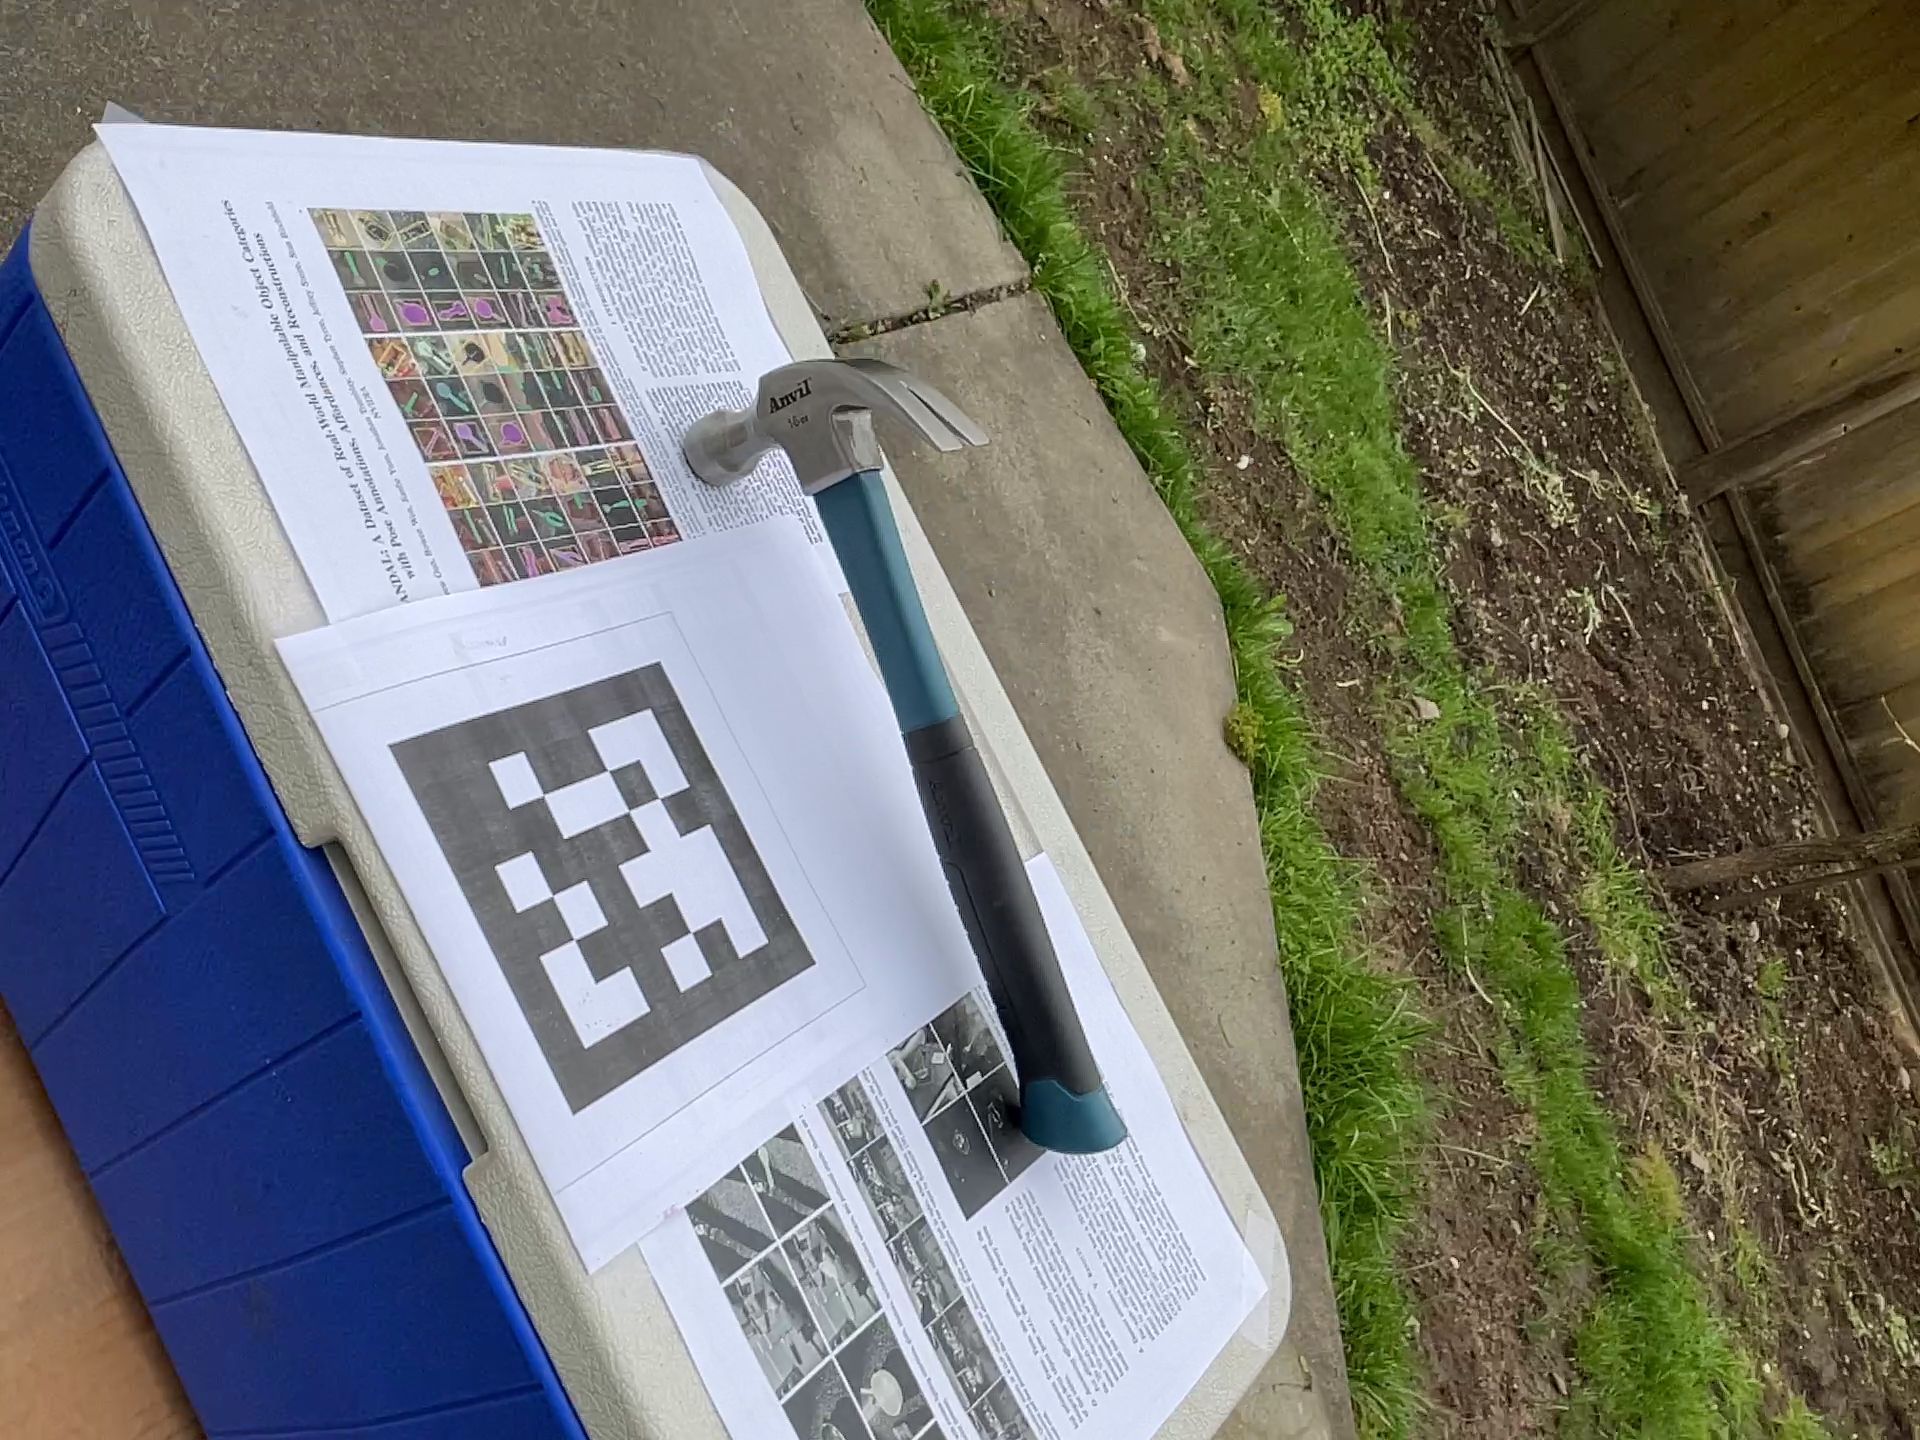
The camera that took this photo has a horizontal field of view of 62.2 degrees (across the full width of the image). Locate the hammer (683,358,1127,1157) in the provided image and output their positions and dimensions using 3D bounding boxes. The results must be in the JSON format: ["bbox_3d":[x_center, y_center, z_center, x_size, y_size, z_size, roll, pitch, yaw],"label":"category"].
[{"bbox_3d":[-0.008,0.015,0.630,0.033,0.128,0.331,-21,92,-50],"label":"hammer"}]
